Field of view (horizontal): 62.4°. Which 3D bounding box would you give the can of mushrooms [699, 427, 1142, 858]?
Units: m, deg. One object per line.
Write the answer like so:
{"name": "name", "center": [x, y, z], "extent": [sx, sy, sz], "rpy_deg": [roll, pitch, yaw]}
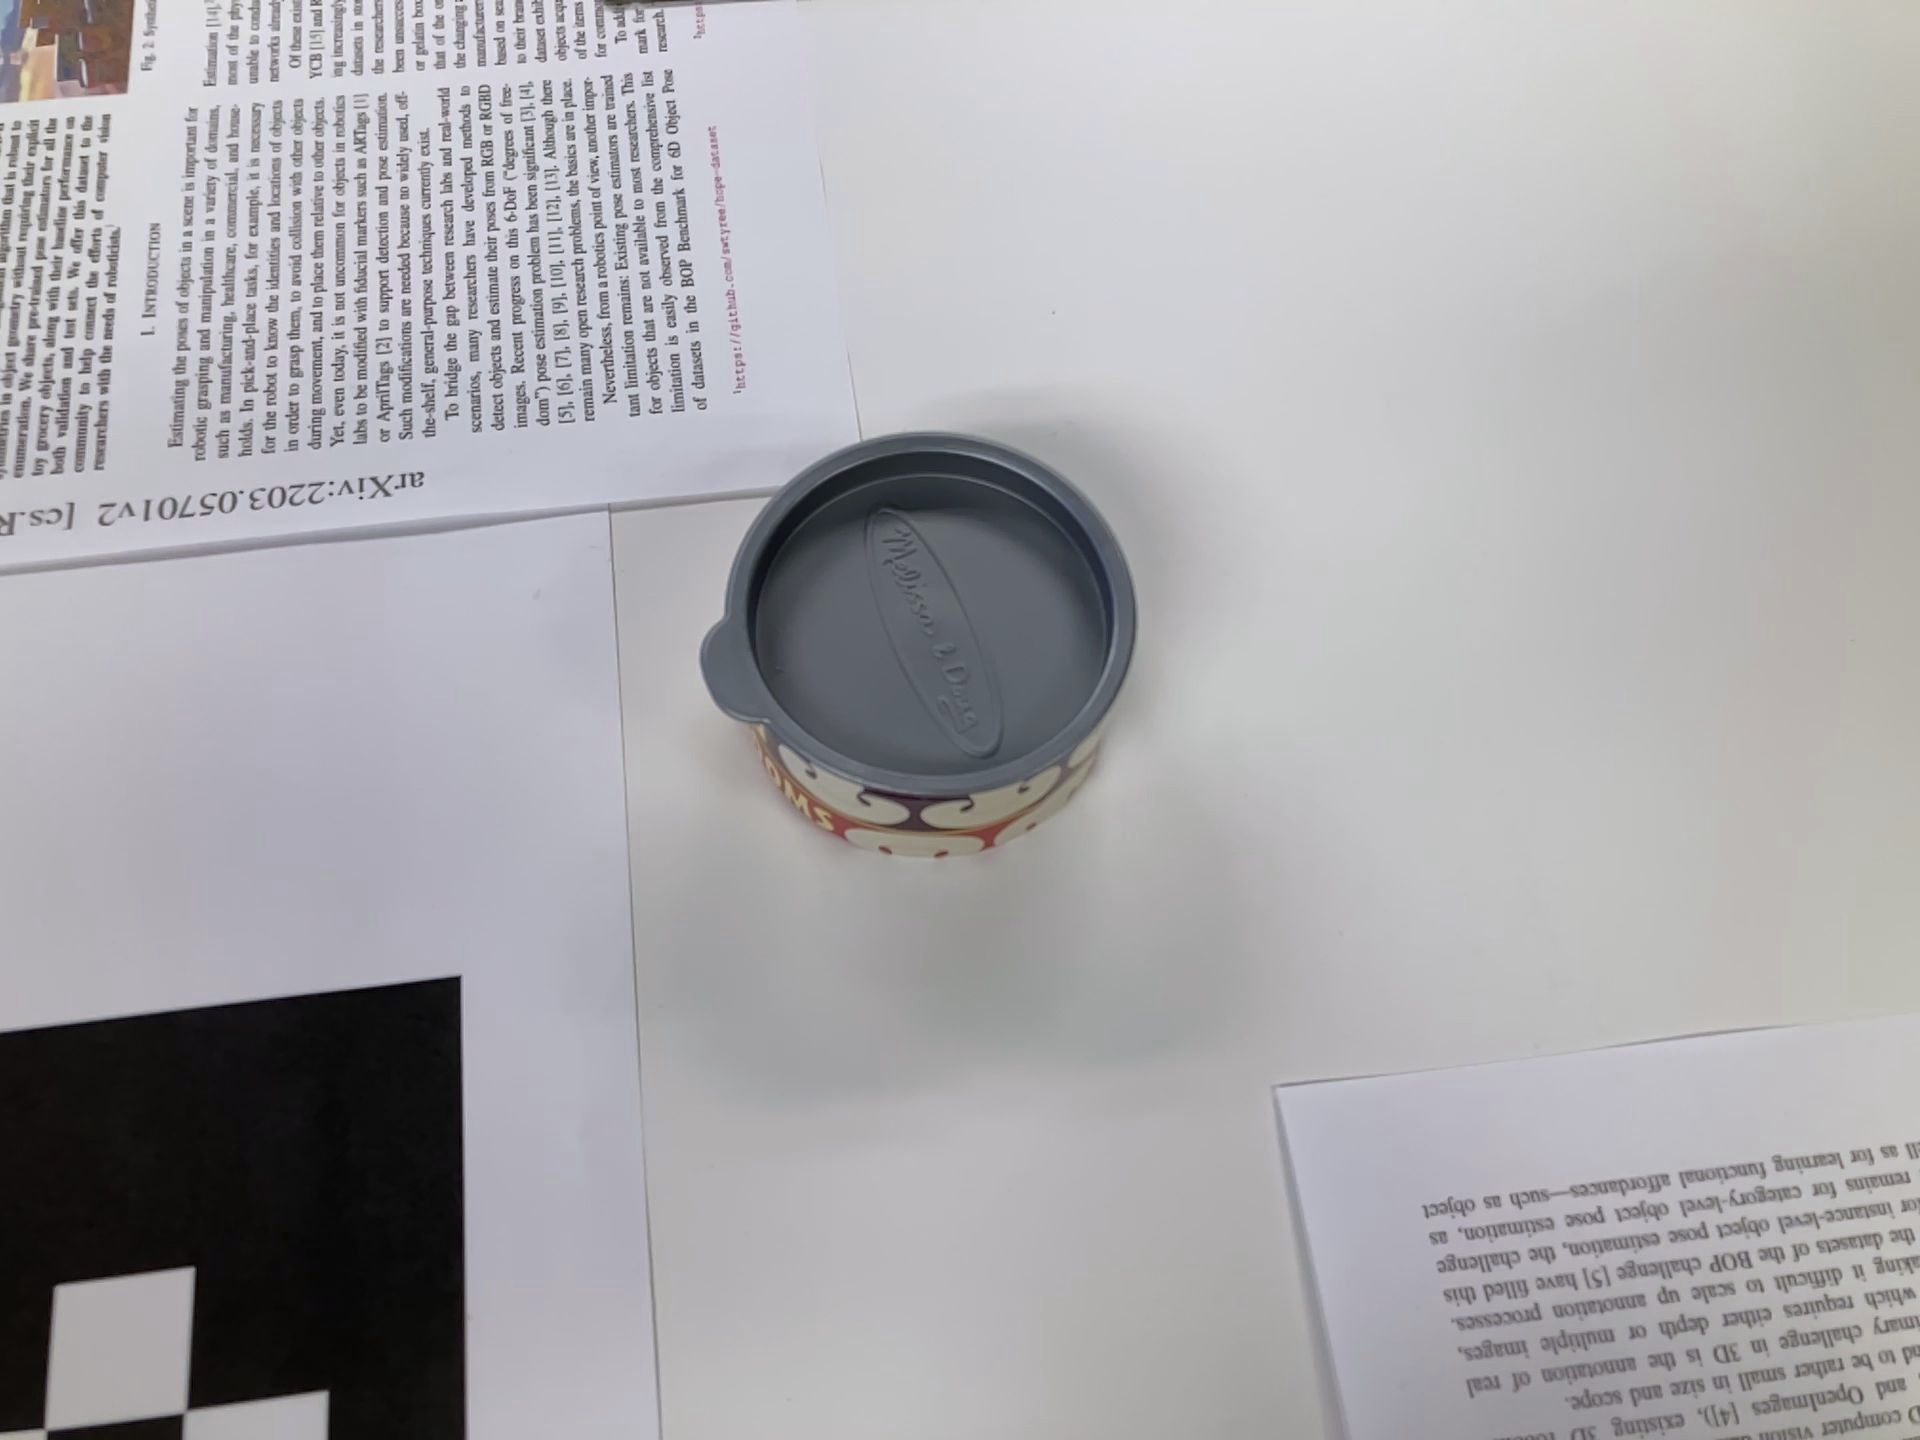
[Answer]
{"name": "can of mushrooms", "center": [-0.007, -0.012, 0.265], "extent": [0.071, 0.033, 0.071], "rpy_deg": [1, 67, -2]}
